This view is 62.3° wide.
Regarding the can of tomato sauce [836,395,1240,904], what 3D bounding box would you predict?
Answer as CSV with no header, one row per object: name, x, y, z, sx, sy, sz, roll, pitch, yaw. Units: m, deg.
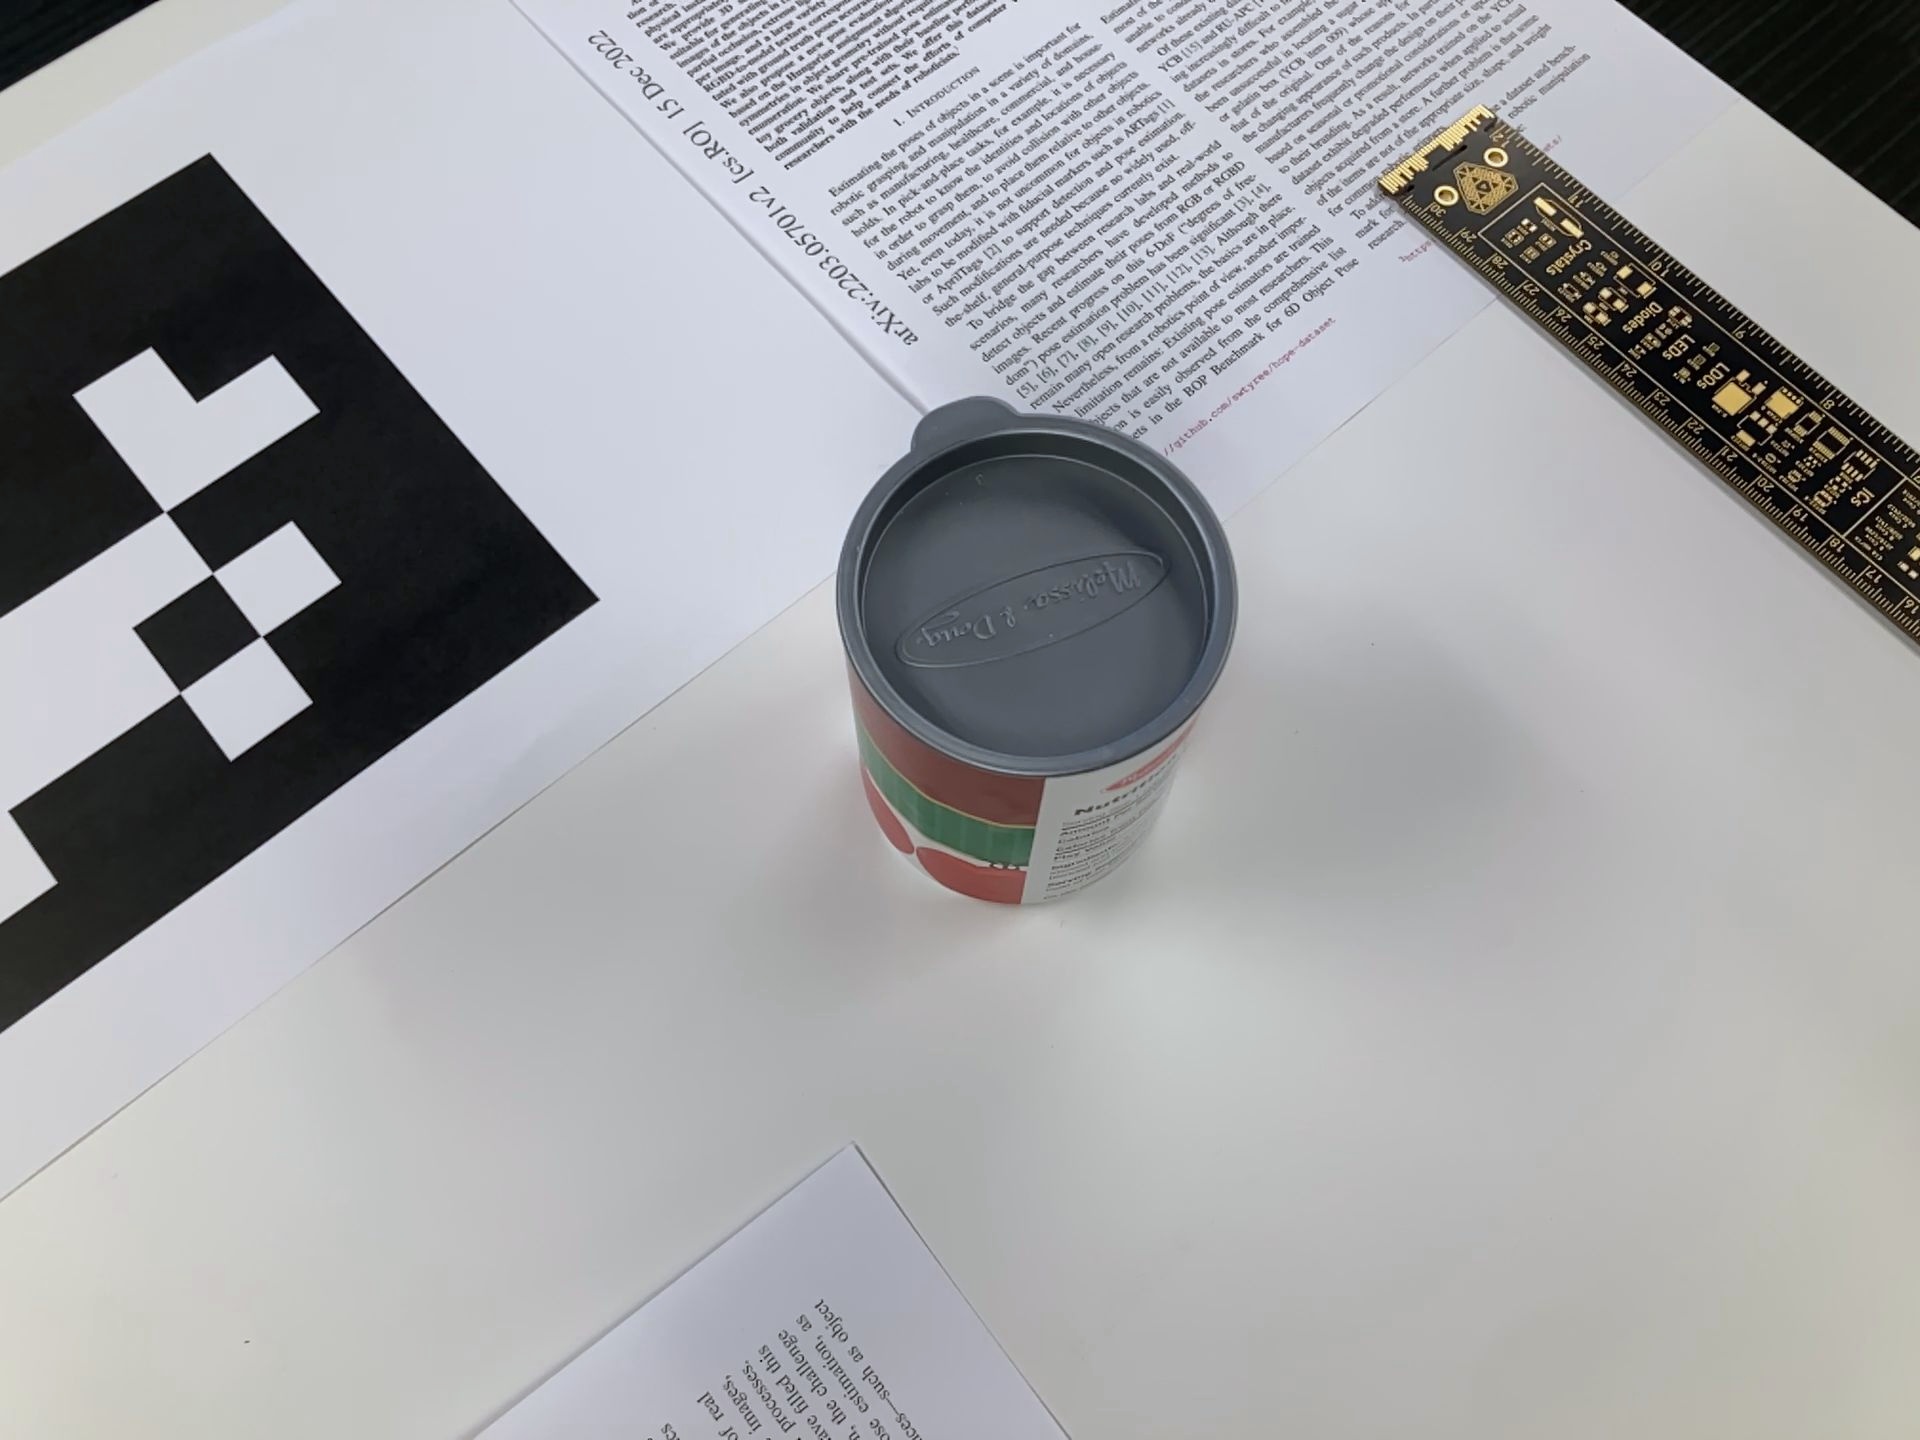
can of tomato sauce,0.011,-0.009,0.299,0.071,0.083,0.071,0,68,-1
